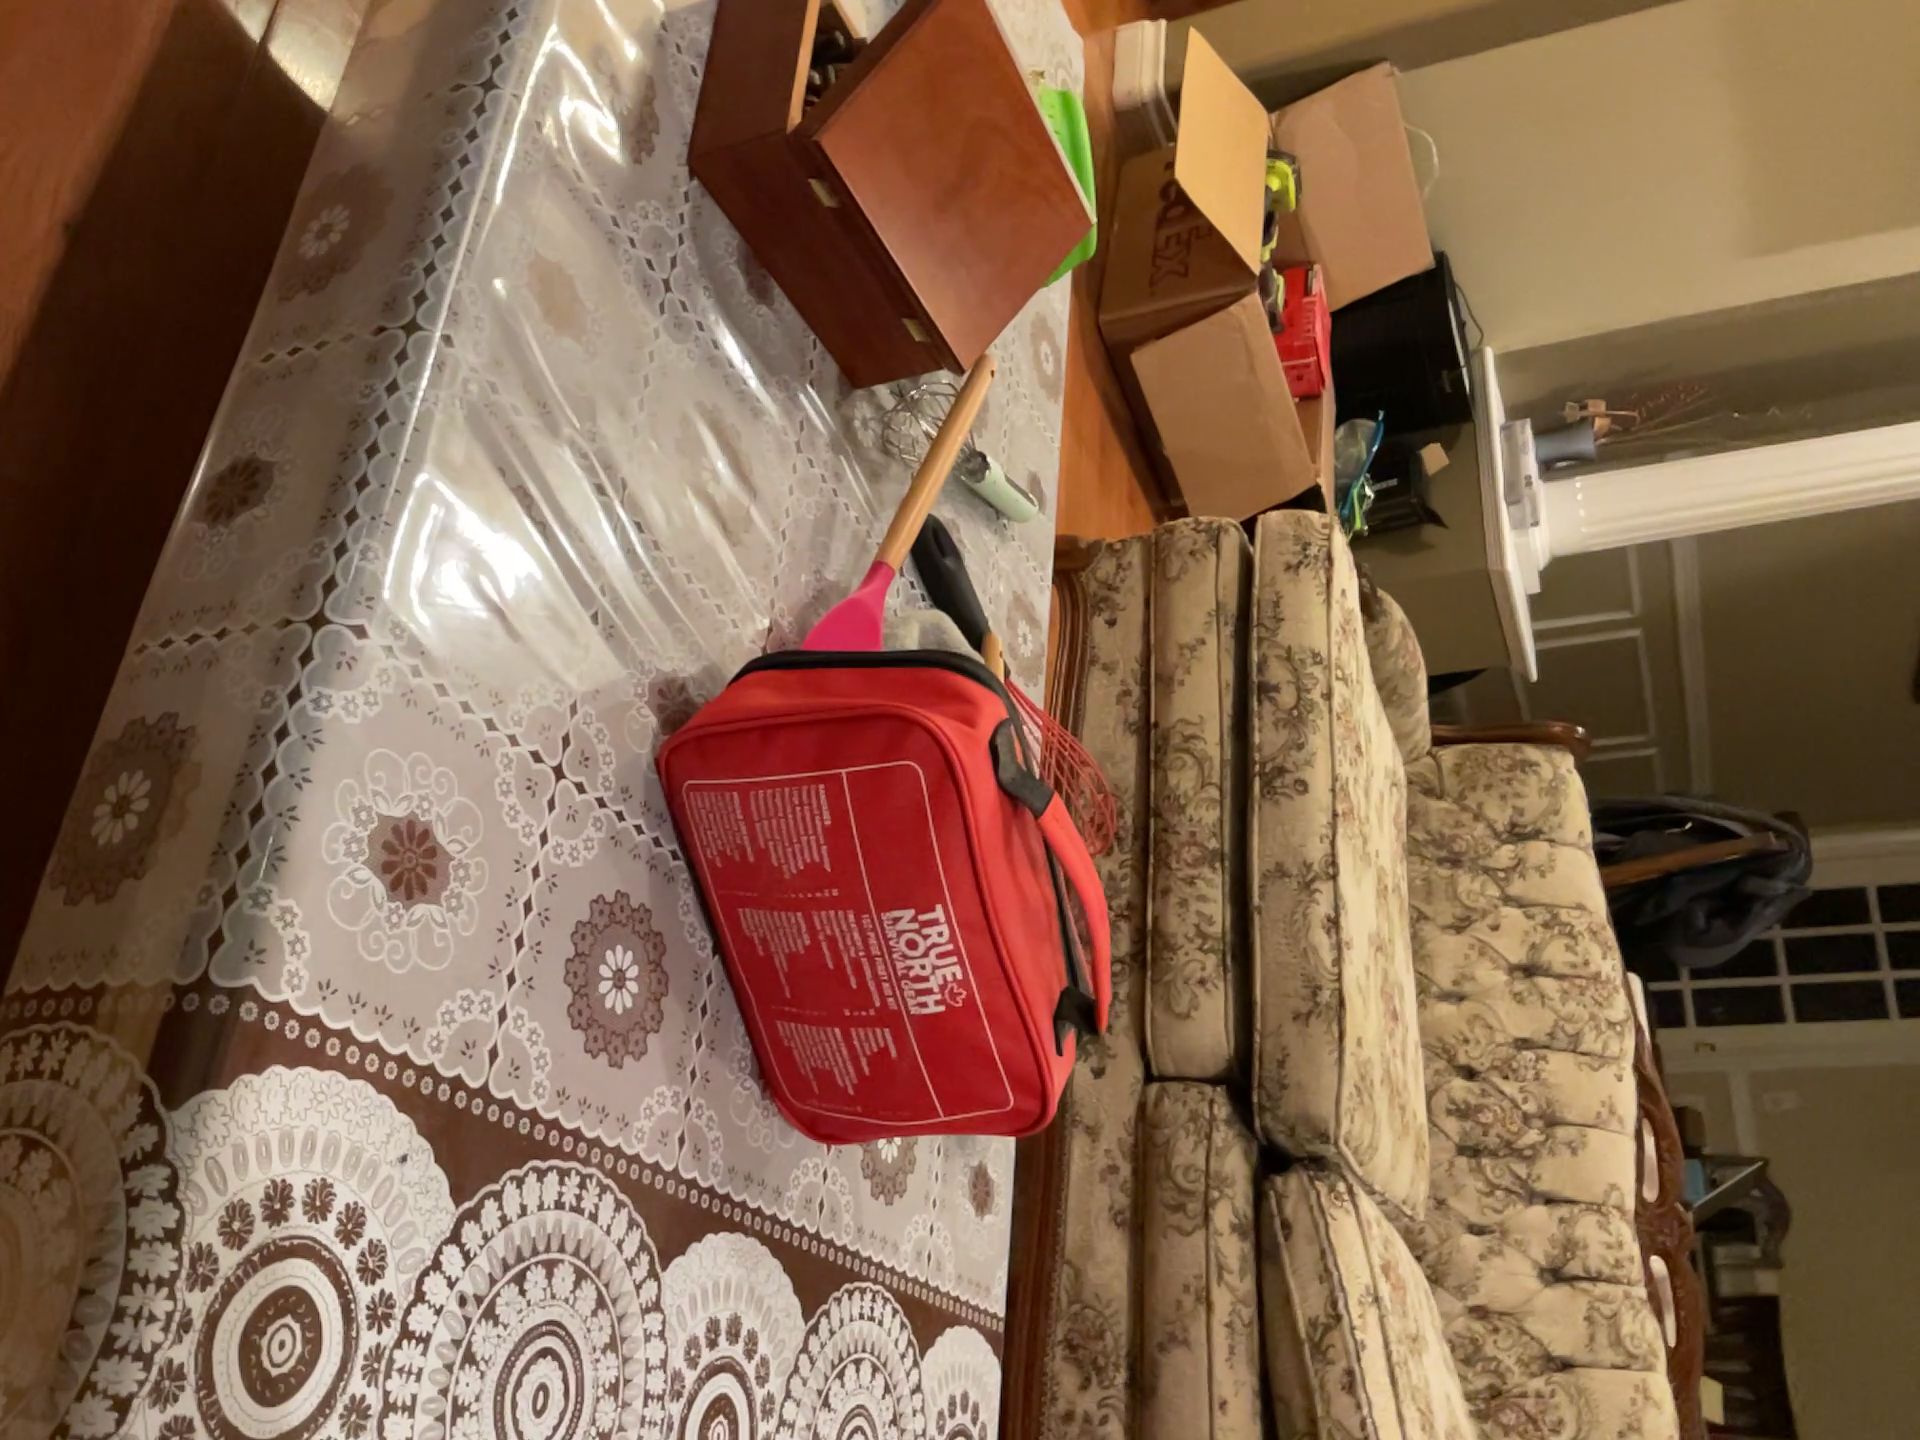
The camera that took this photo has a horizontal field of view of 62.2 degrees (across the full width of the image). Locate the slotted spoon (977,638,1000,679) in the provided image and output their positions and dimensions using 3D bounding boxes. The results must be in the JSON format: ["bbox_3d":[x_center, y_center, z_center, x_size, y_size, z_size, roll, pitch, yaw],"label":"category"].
[{"bbox_3d":[0.020,0.102,1.019,0.070,0.031,0.314,19,68,-64],"label":"slotted spoon"}]

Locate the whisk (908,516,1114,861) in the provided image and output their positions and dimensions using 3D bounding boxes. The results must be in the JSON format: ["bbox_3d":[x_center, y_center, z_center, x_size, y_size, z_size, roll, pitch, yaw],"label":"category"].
[{"bbox_3d":[0.032,-0.013,1.080,0.295,0.073,0.073,62,36,-26],"label":"whisk"}]

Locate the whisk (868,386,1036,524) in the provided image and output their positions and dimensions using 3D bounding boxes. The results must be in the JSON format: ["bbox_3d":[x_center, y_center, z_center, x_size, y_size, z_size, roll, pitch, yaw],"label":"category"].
[{"bbox_3d":[0.002,-0.173,1.084,0.058,0.059,0.246,-55,157,6],"label":"whisk"}]

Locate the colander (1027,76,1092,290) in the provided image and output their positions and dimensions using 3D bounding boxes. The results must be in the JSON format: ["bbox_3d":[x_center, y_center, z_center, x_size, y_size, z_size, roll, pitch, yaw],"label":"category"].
[{"bbox_3d":[0.028,-0.435,1.099,0.204,0.094,0.397,76,7,-70],"label":"colander"}]

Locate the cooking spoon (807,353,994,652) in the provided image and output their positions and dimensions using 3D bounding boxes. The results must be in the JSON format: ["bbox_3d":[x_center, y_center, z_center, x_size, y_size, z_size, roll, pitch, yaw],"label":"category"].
[{"bbox_3d":[-0.036,-0.104,0.925,0.068,0.017,0.319,60,42,-44],"label":"cooking spoon"}]
